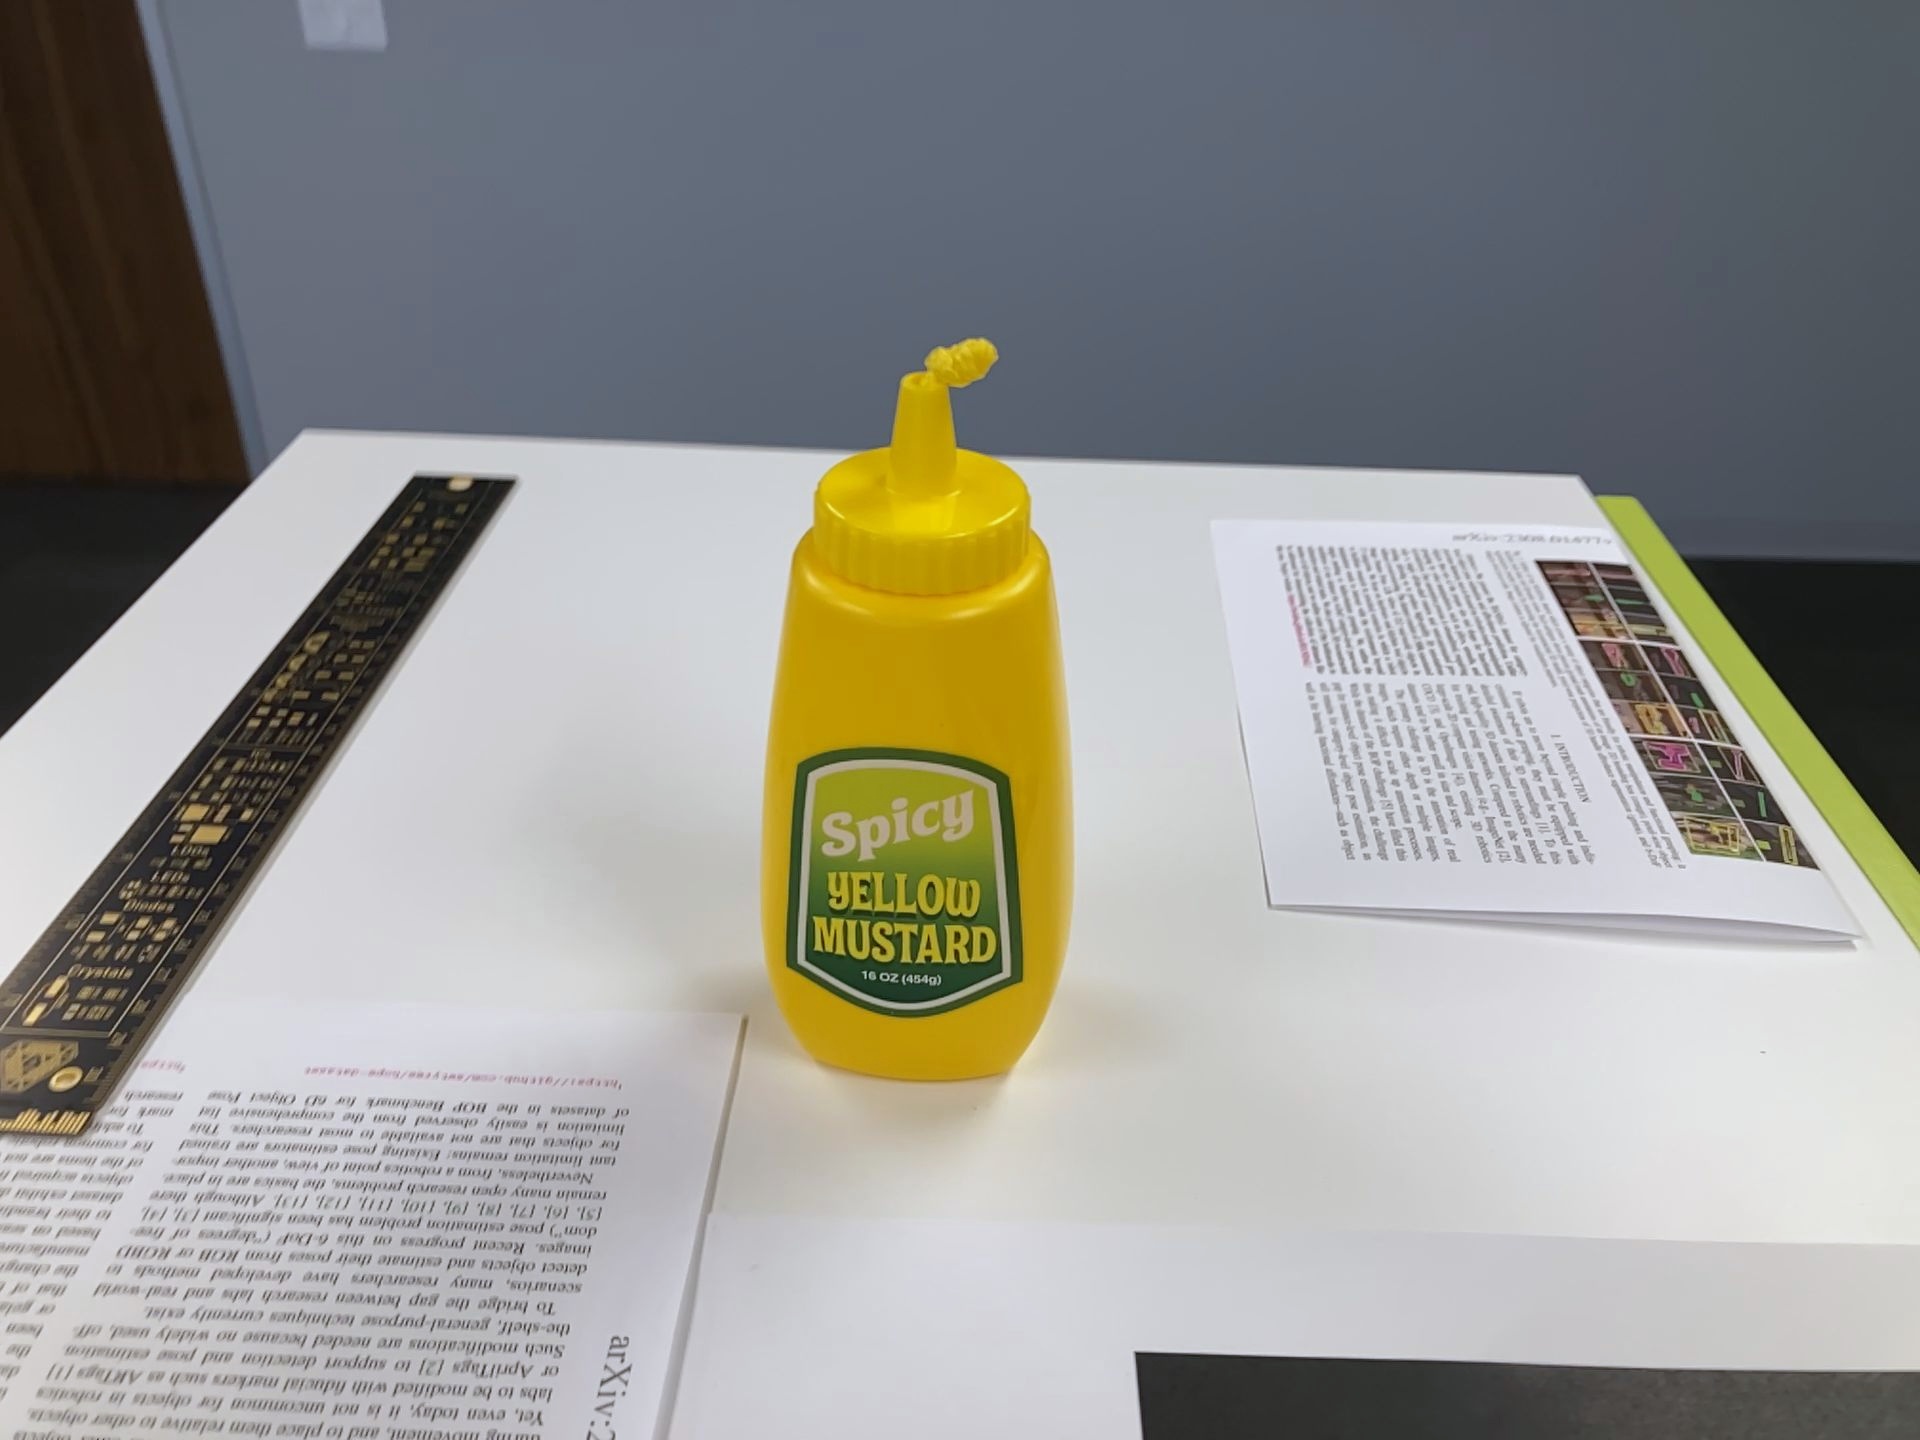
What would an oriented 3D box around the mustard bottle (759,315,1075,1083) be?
[{"bbox_3d":[-0.009,0.000,0.310,0.065,0.160,0.049,3,34,5],"label":"mustard bottle"}]
